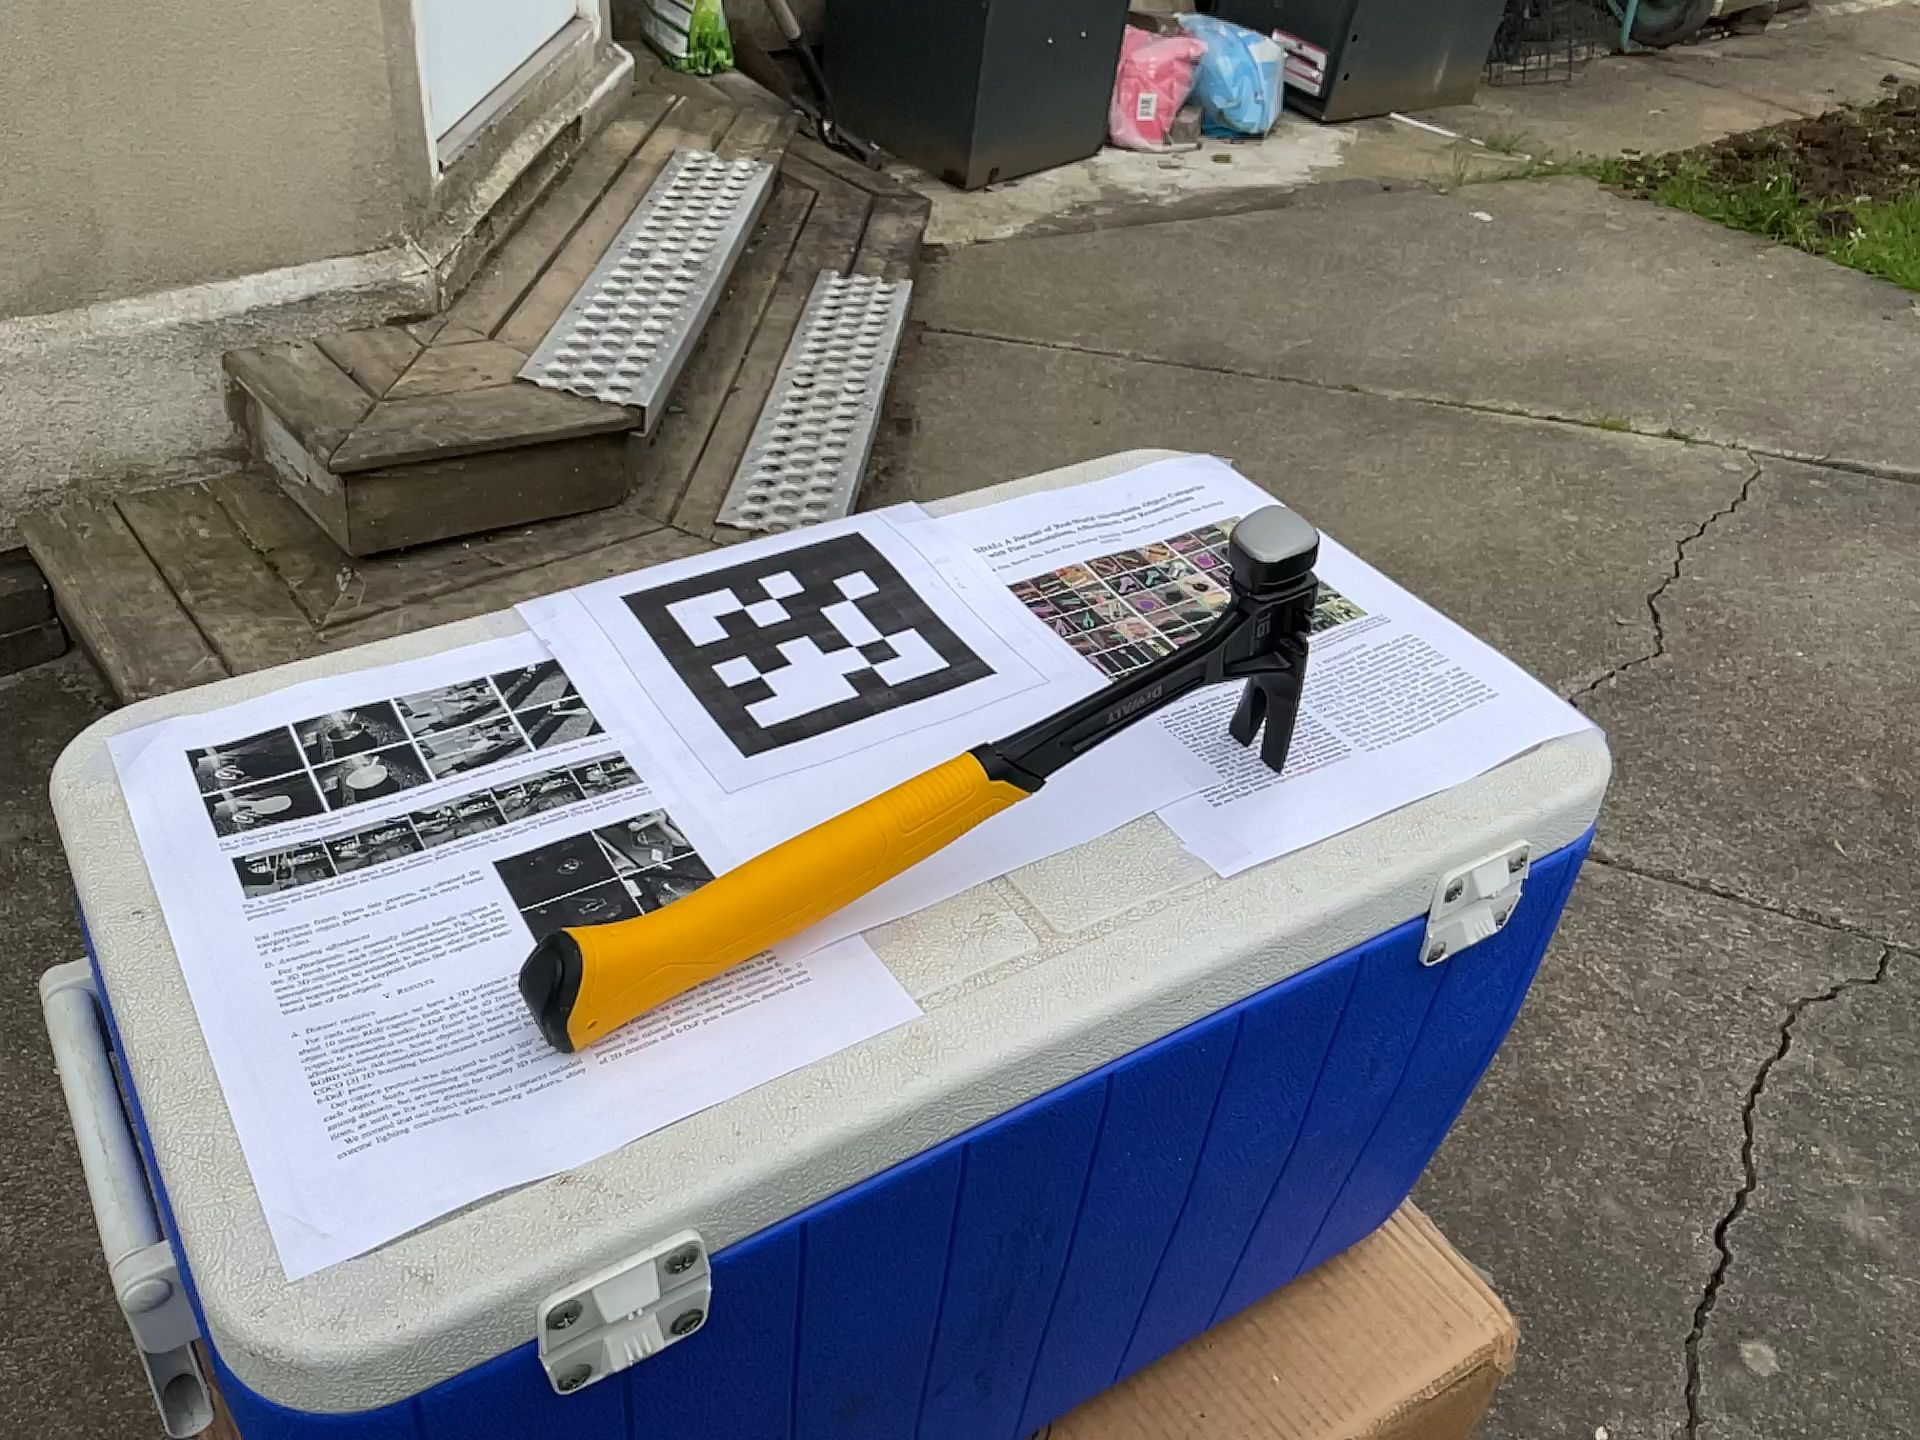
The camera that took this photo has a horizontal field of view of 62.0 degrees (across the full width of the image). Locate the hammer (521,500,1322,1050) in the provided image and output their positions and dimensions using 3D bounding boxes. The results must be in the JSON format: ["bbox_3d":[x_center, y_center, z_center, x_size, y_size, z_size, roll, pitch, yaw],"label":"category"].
[{"bbox_3d":[-0.002,0.033,0.601,0.337,0.127,0.034,-27,48,-21],"label":"hammer"}]
